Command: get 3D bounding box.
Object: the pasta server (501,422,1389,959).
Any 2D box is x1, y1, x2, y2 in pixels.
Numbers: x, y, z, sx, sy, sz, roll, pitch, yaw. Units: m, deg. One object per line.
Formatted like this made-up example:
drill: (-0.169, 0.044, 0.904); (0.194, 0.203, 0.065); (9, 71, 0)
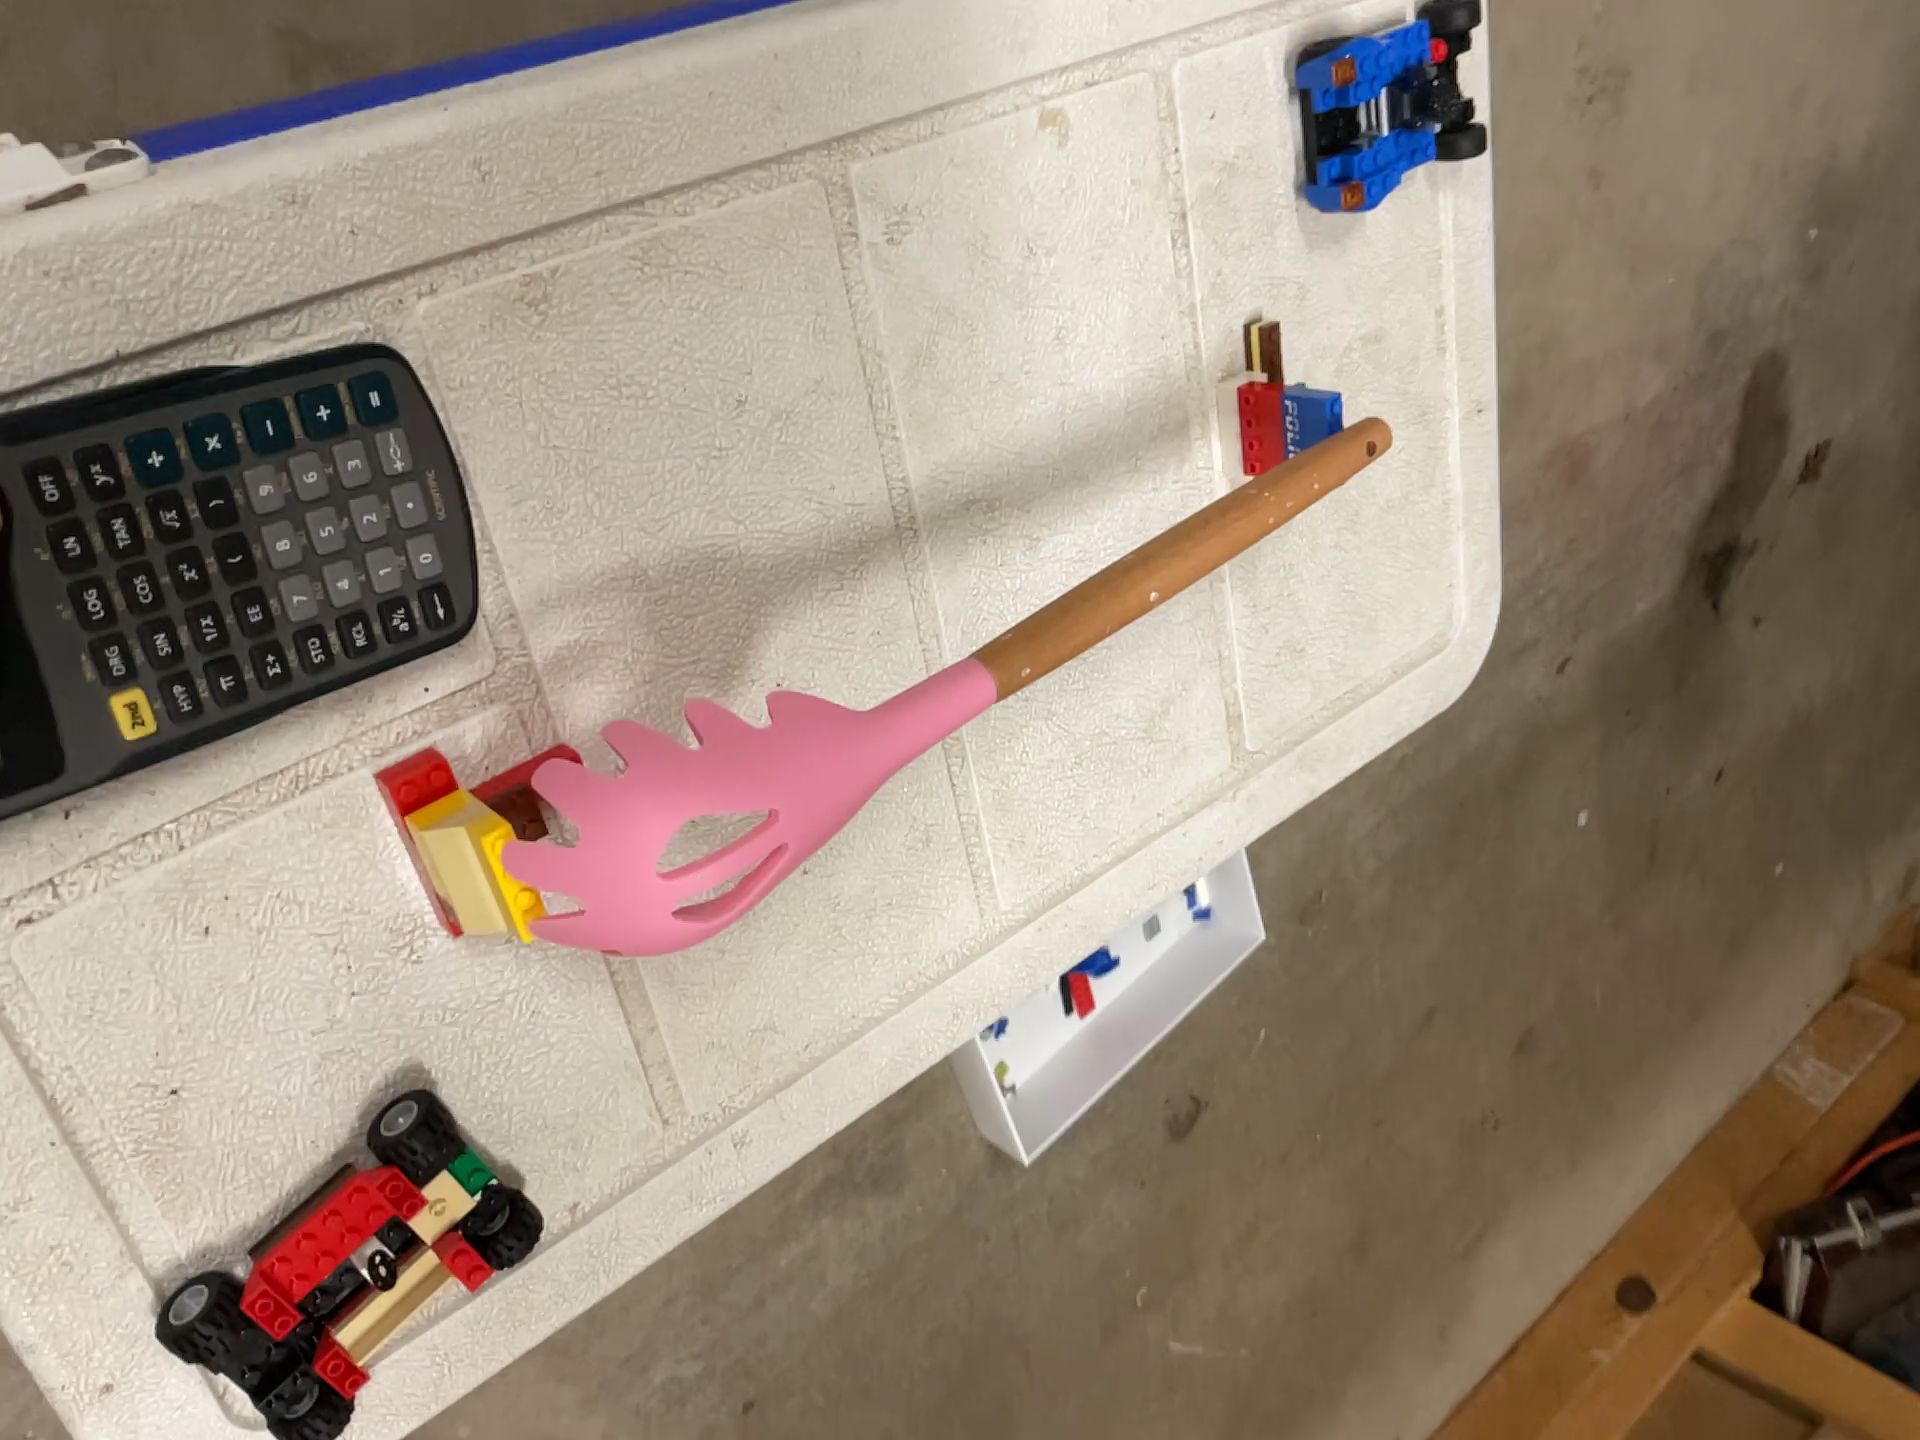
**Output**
pasta server: (0.019, -0.024, 0.454); (0.316, 0.040, 0.060); (-32, 123, -32)
